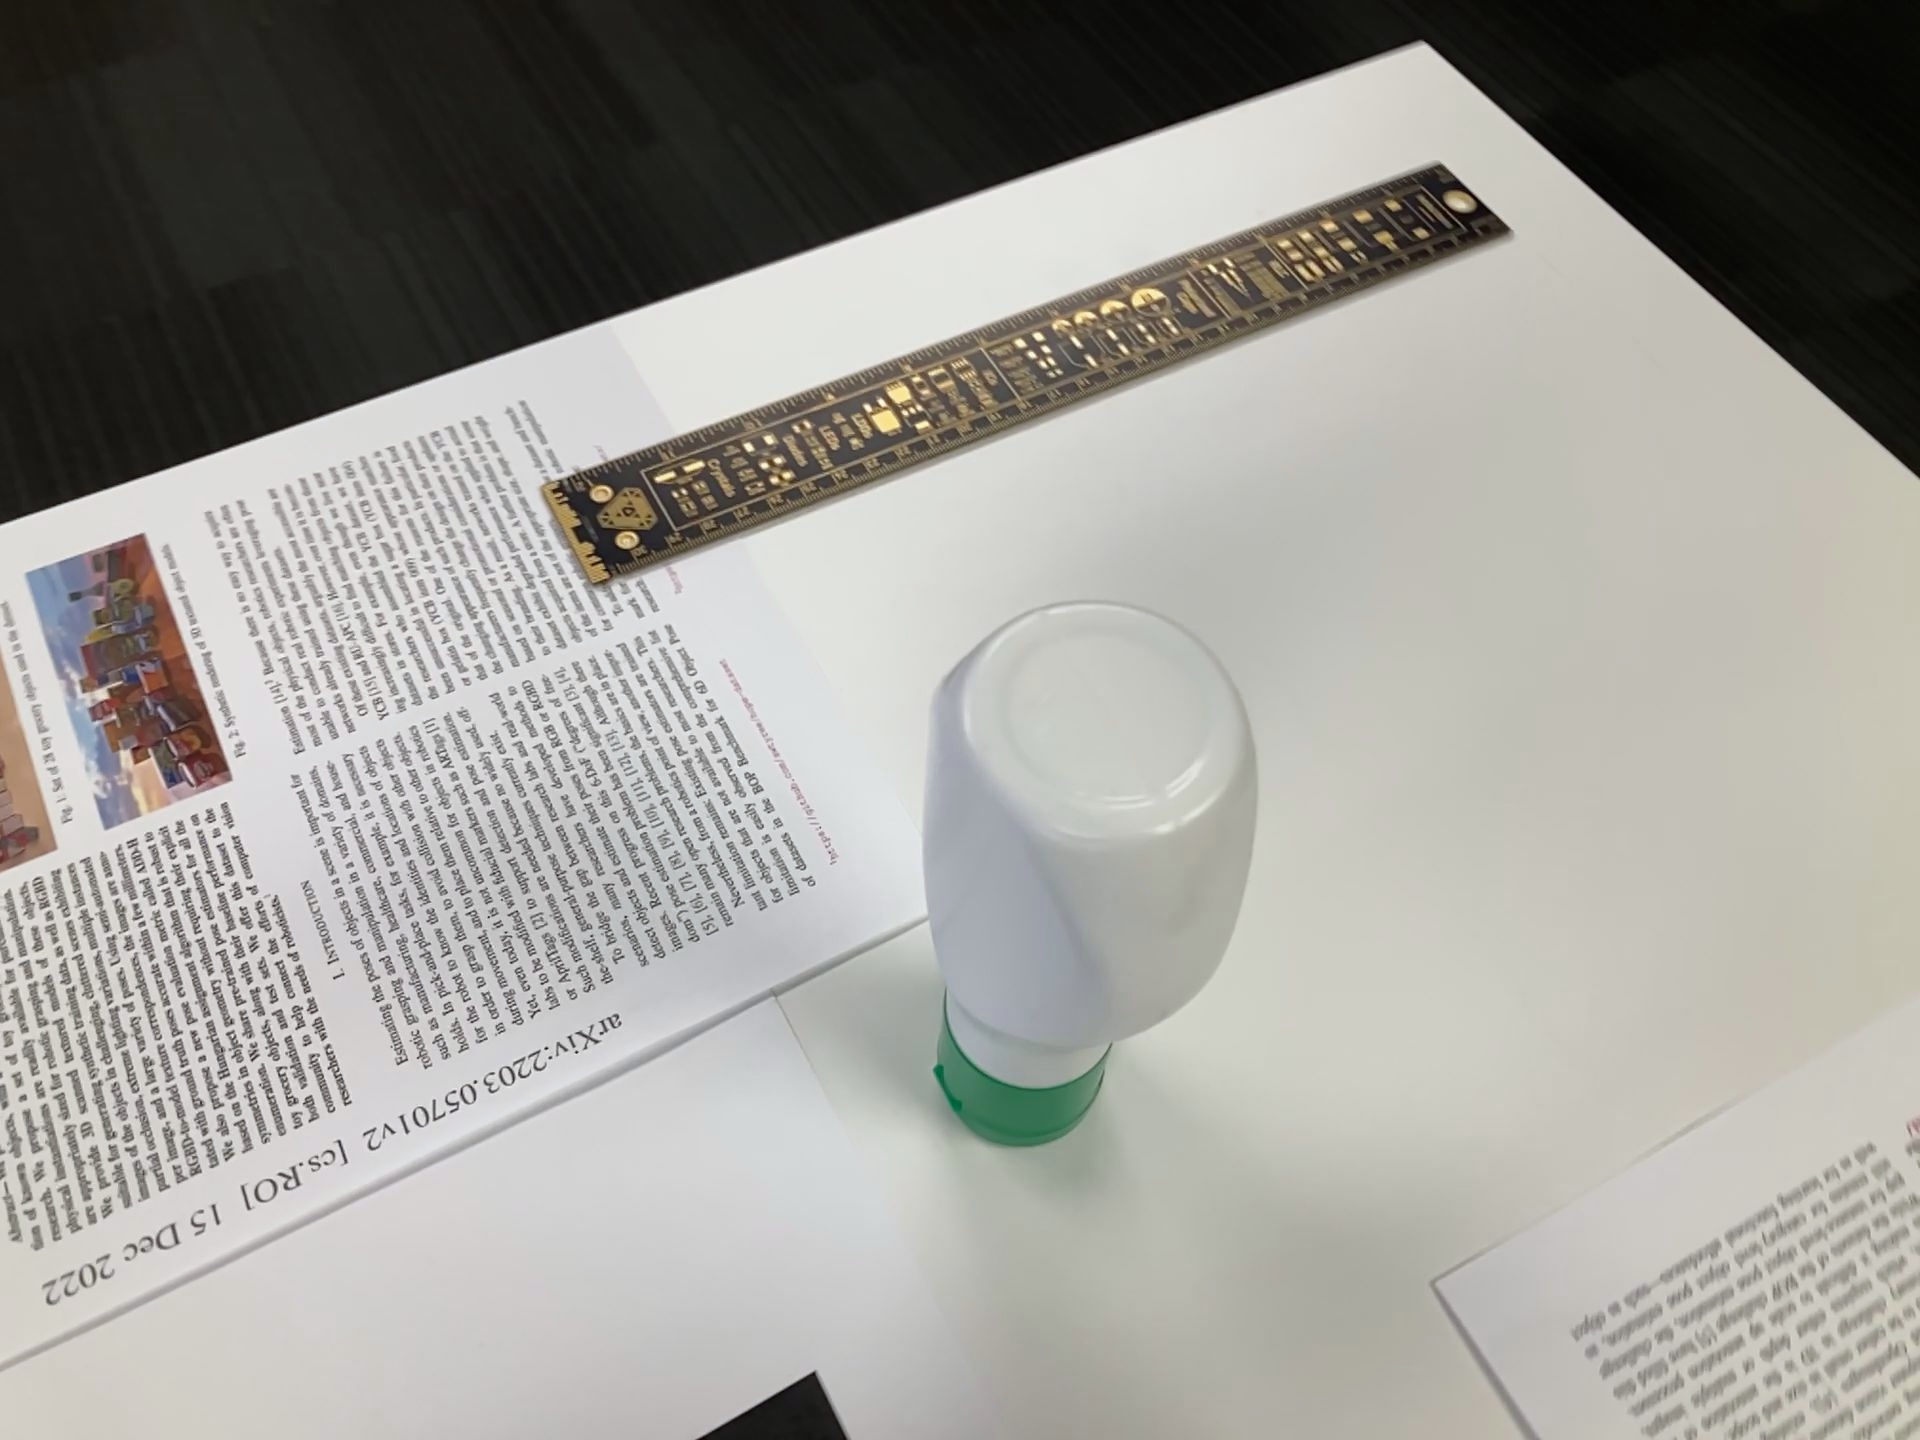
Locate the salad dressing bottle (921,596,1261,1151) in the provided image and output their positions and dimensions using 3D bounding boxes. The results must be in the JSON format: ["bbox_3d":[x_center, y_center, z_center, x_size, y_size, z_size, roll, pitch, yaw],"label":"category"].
[{"bbox_3d":[0.017,0.039,0.293,0.044,0.147,0.064,-22,61,-17],"label":"salad dressing bottle"}]
